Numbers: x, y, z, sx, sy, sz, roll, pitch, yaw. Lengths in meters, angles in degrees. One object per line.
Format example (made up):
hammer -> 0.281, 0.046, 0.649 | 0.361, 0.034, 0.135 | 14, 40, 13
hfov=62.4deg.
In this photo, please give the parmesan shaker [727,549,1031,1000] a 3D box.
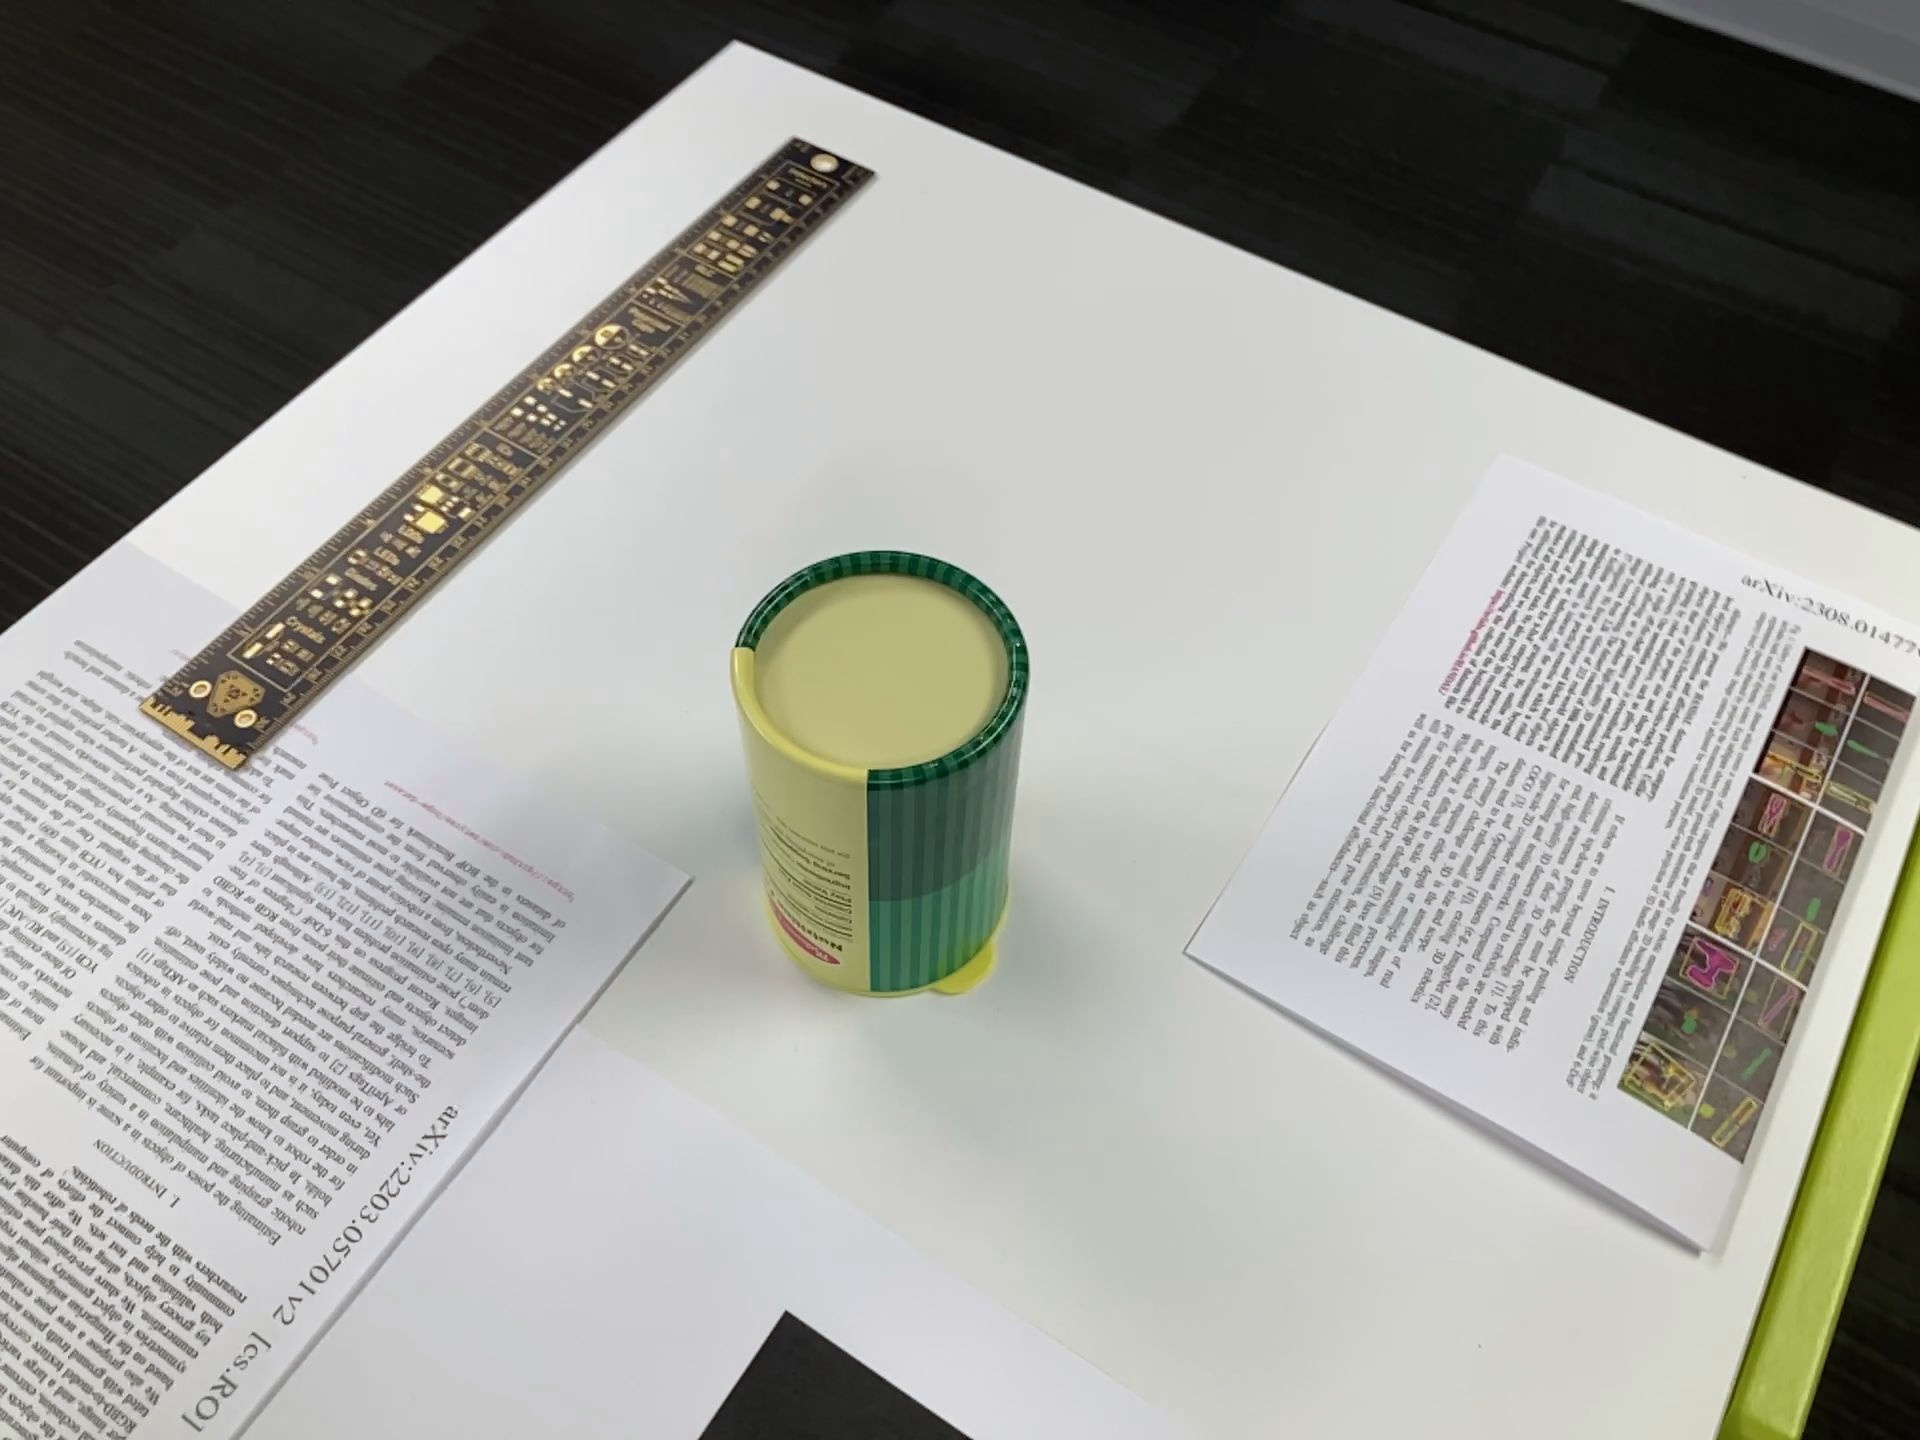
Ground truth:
parmesan shaker -> -0.016, 0.017, 0.382 | 0.071, 0.103, 0.071 | 1, 56, -2
